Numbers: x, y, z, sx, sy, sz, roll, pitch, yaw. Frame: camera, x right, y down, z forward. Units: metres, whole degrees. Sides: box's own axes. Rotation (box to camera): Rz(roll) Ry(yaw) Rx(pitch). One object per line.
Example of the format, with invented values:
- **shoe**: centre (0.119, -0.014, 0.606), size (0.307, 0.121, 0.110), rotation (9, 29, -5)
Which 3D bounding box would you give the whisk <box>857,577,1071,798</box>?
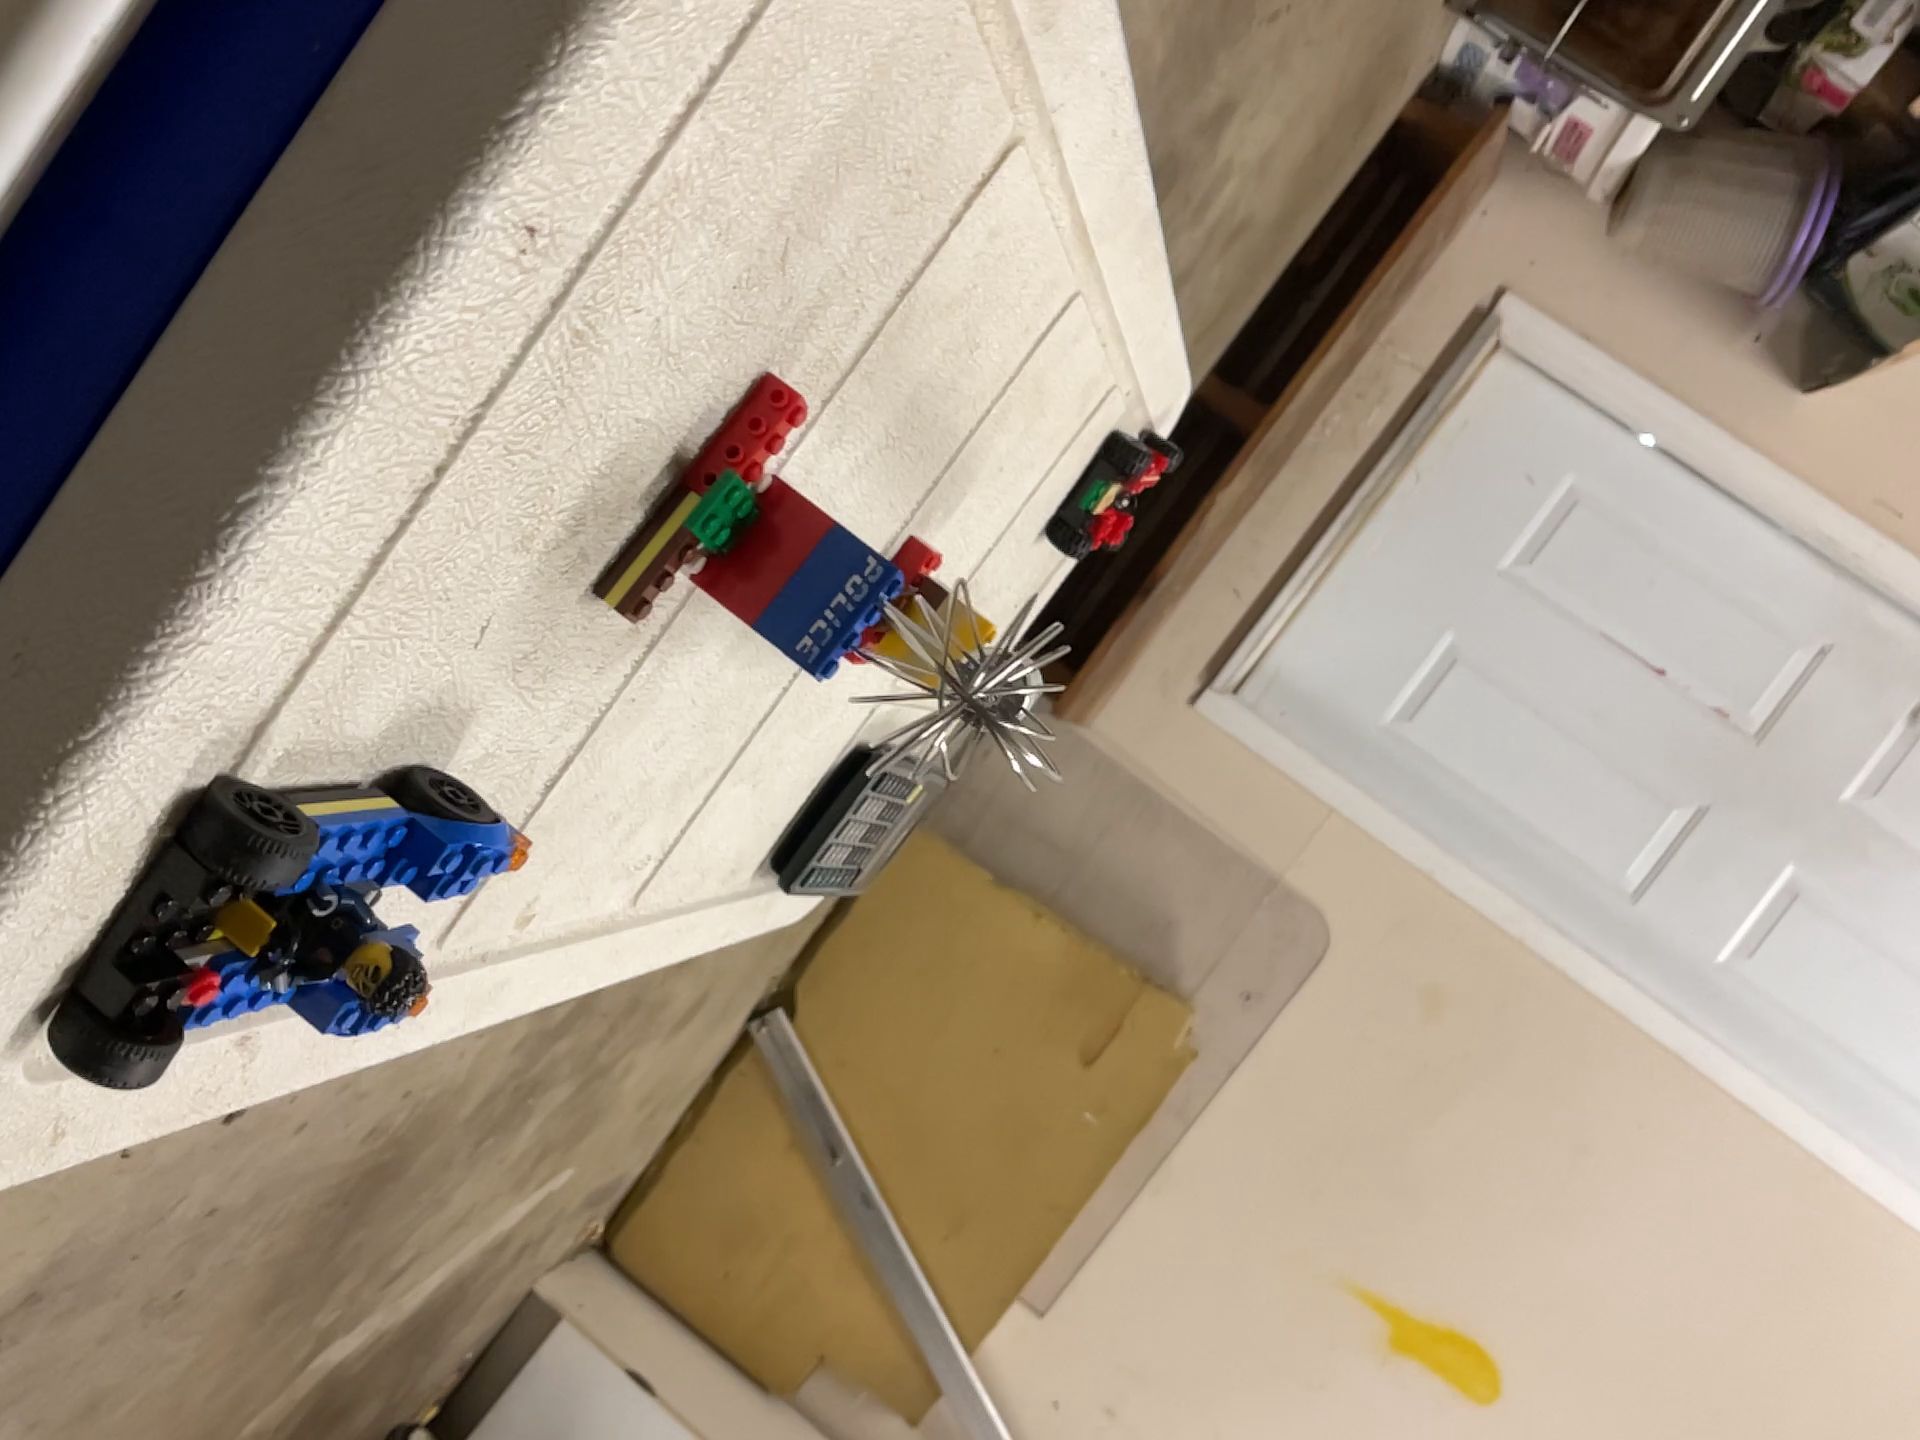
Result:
- **whisk**: centre (0.008, -0.009, 0.462), size (0.058, 0.059, 0.246), rotation (-46, 178, 4)
